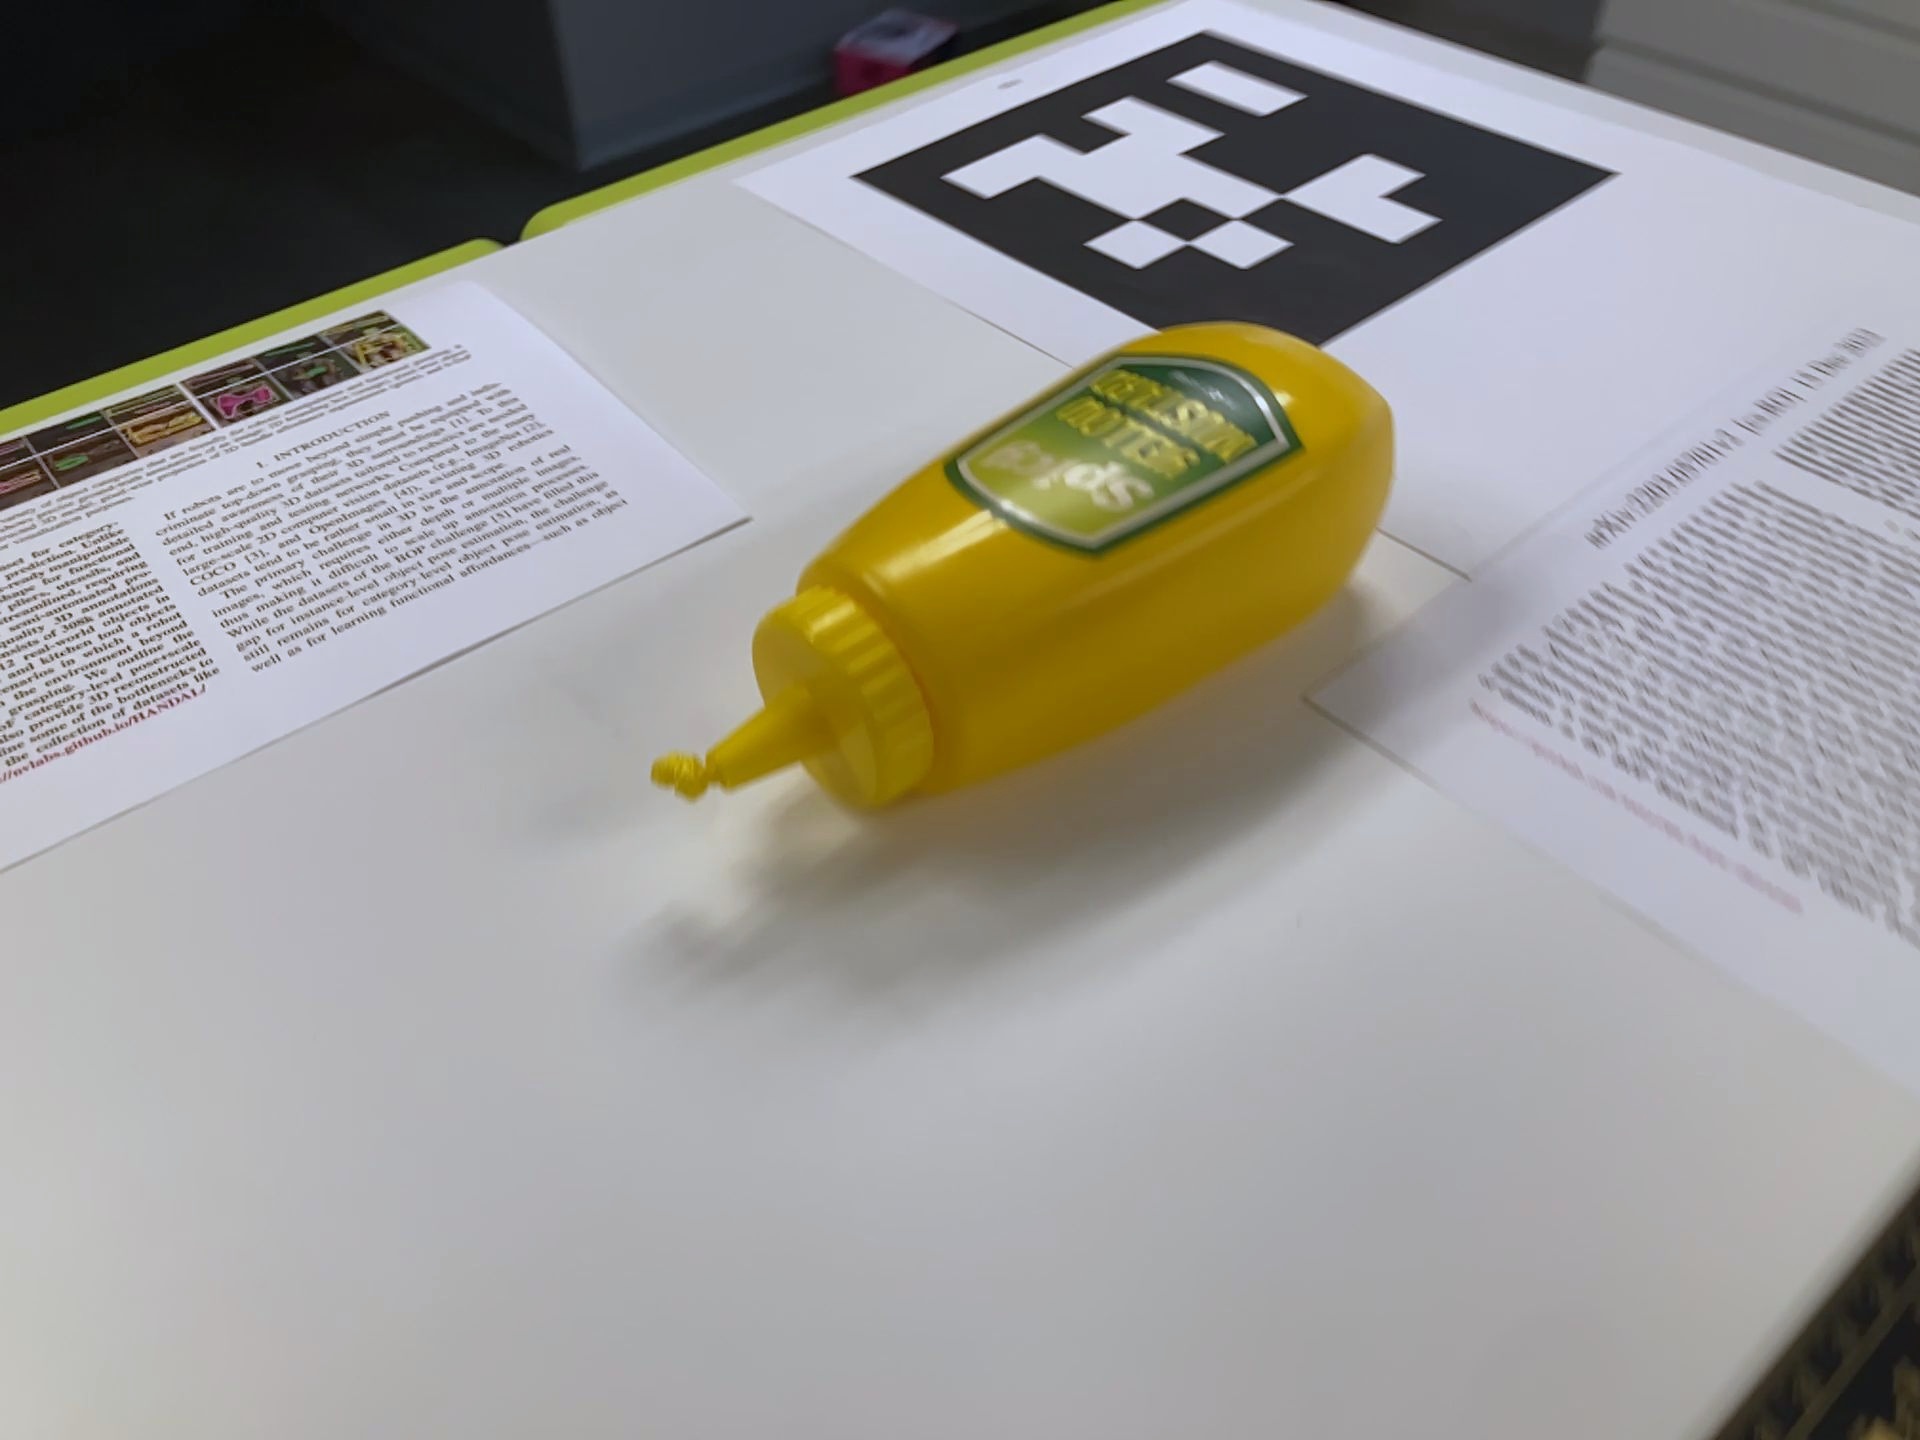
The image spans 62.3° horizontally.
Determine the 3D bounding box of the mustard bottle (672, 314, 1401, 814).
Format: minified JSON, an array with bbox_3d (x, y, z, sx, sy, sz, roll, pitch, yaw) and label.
[{"bbox_3d":[0.014,-0.026,0.296,0.160,0.049,0.065,-33,50,-29],"label":"mustard bottle"}]
